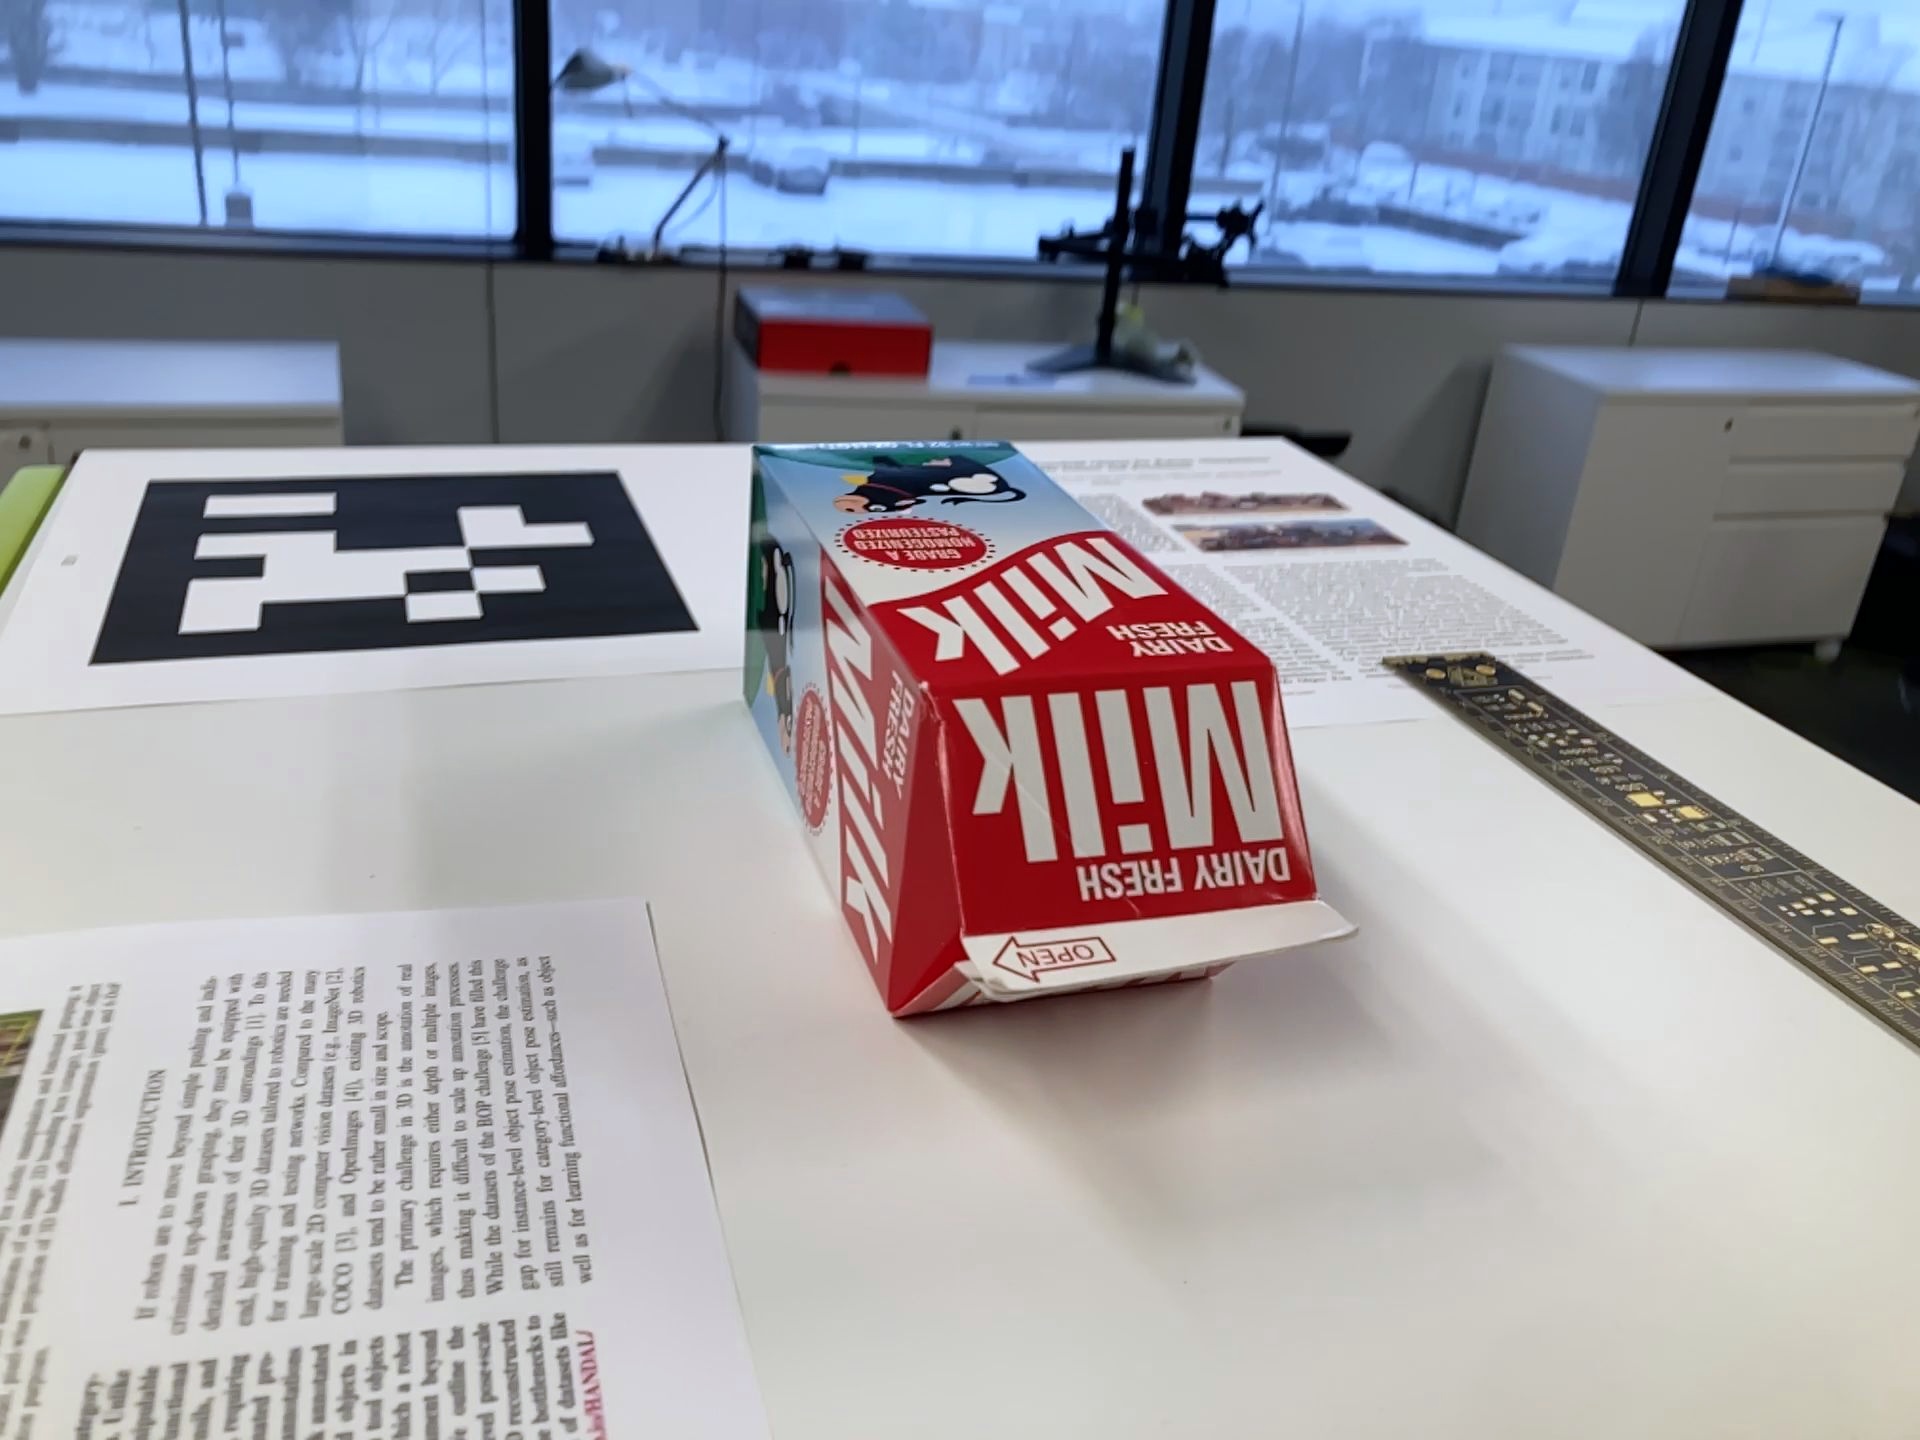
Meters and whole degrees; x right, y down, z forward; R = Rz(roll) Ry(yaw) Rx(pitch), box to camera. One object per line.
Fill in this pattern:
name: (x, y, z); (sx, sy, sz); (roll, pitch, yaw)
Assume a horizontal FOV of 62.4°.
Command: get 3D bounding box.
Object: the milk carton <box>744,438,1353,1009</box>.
milk carton: (0.006, -0.001, 0.344); (0.072, 0.073, 0.190); (-3, 26, -19)
